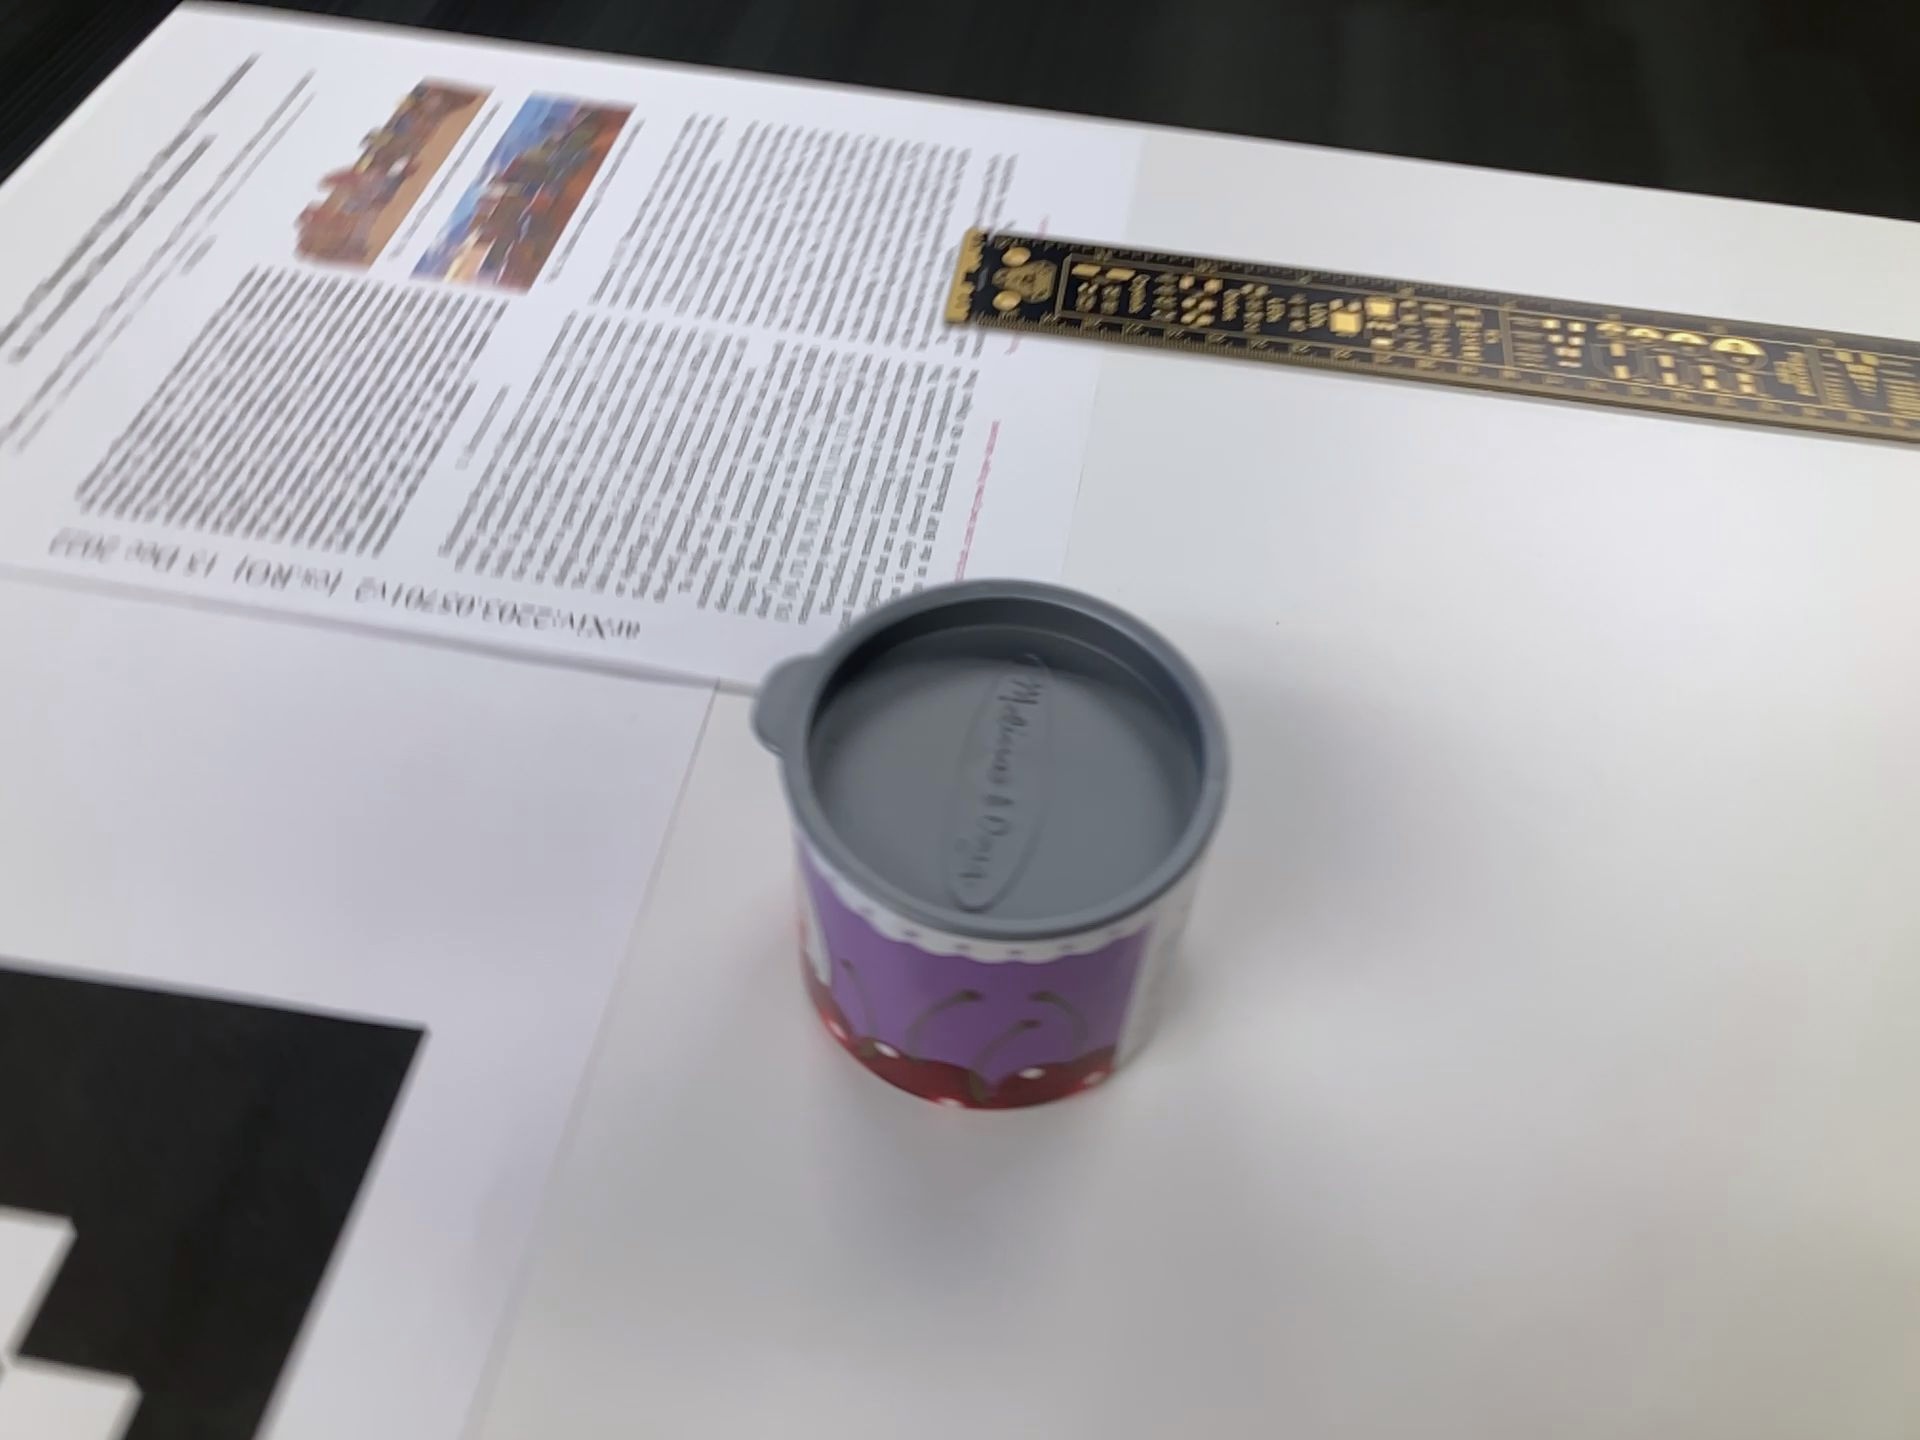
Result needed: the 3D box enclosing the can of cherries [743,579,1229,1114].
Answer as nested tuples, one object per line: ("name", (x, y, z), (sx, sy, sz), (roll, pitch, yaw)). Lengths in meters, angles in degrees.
("can of cherries", (0.003, 0.020, 0.254), (0.071, 0.058, 0.071), (1, 51, -2))
